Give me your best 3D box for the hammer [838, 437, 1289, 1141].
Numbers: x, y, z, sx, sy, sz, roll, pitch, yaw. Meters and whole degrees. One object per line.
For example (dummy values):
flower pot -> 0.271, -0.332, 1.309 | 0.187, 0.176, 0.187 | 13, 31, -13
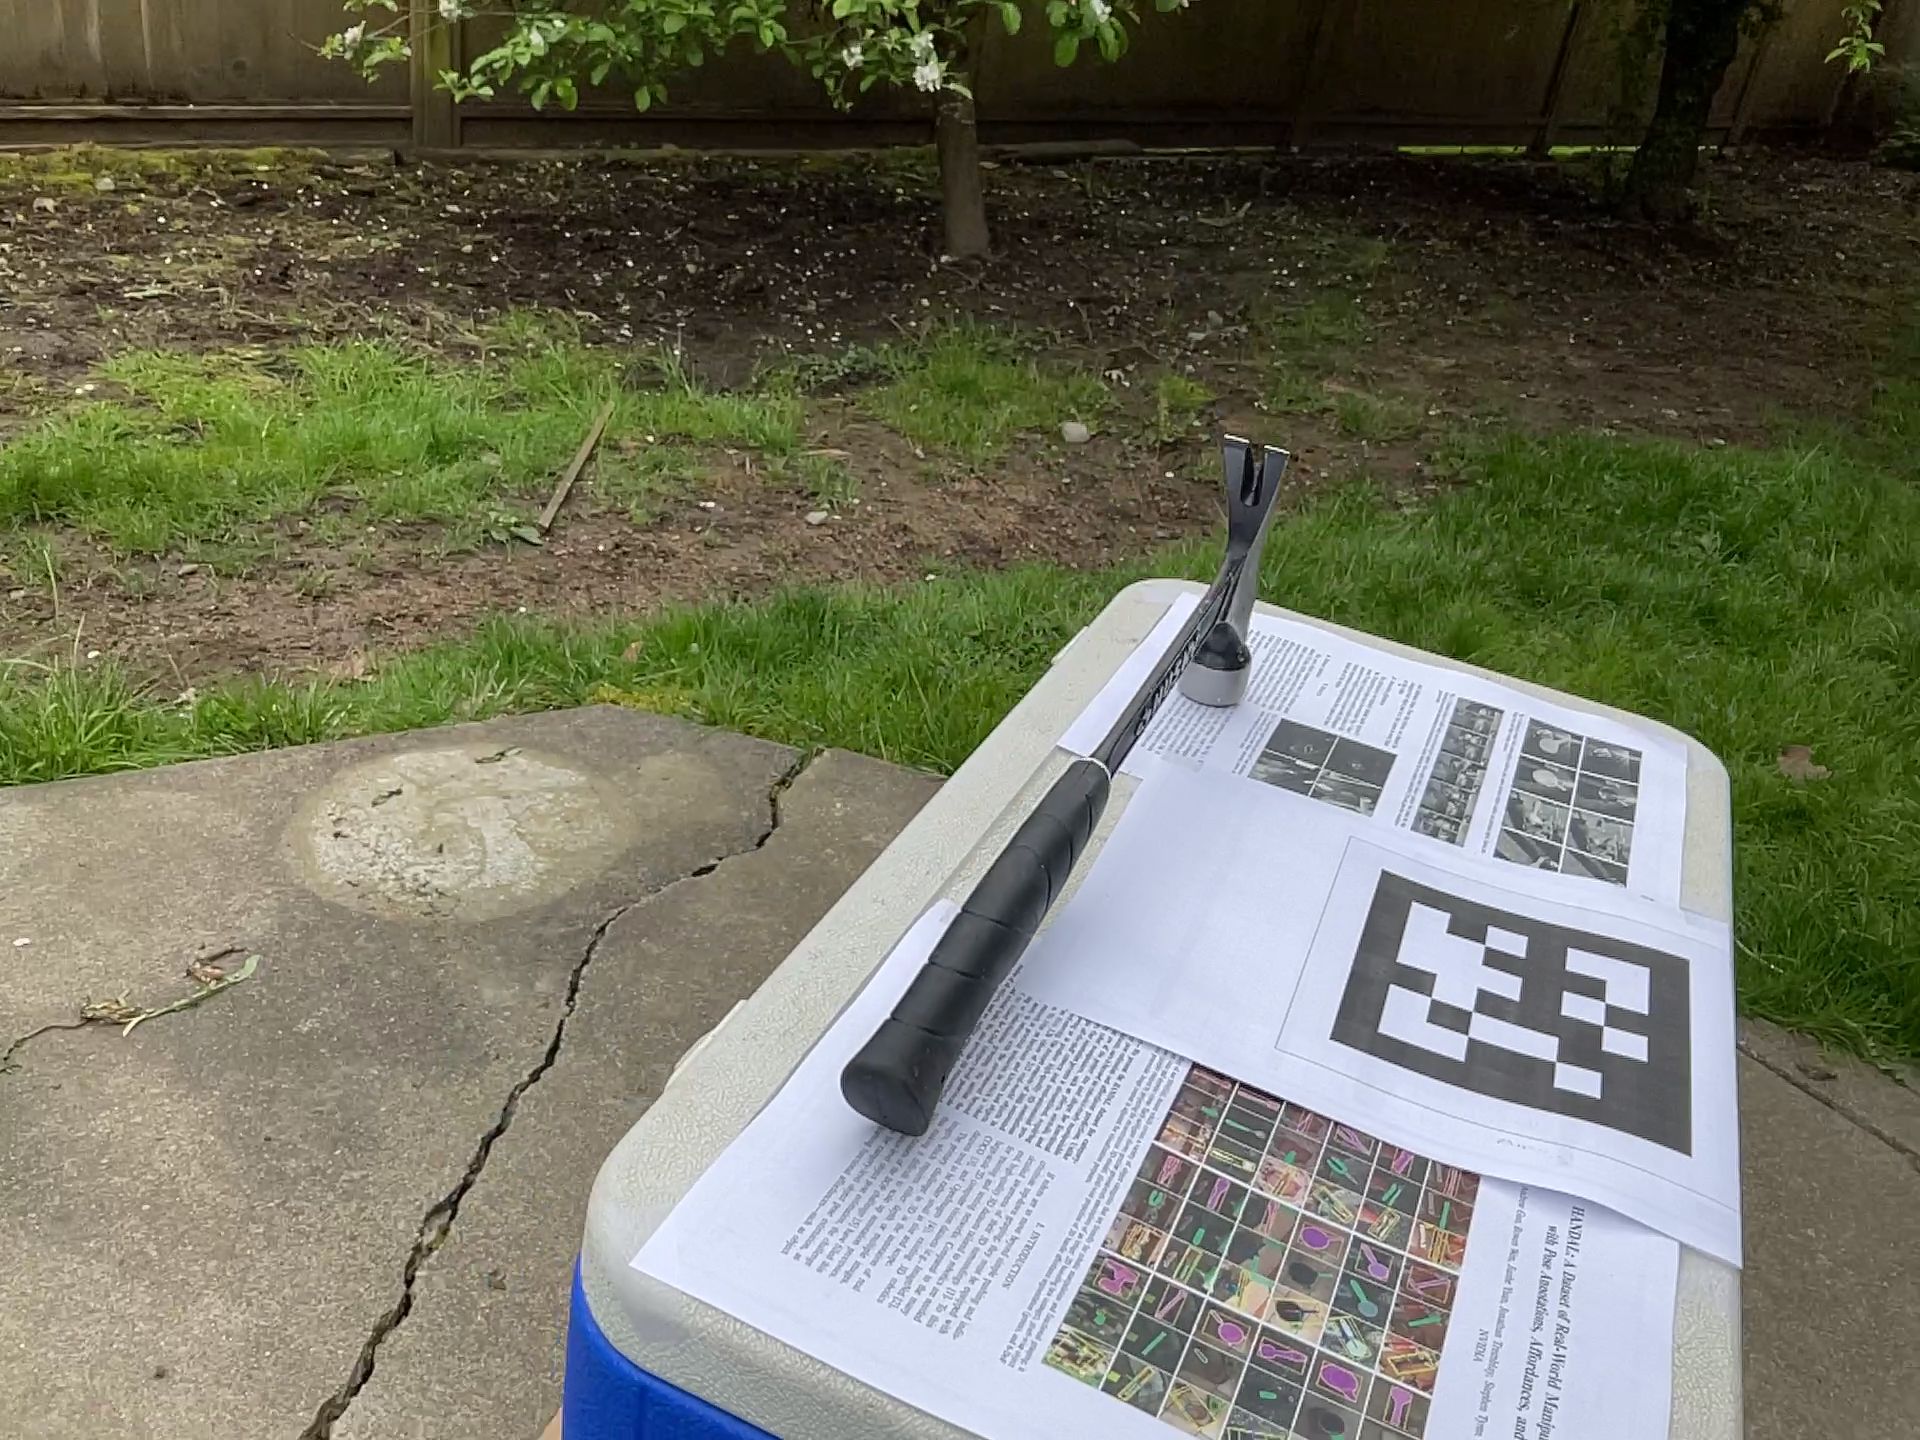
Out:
hammer -> 0.059, 0.018, 0.644 | 0.036, 0.149, 0.409 | 19, 37, 17
